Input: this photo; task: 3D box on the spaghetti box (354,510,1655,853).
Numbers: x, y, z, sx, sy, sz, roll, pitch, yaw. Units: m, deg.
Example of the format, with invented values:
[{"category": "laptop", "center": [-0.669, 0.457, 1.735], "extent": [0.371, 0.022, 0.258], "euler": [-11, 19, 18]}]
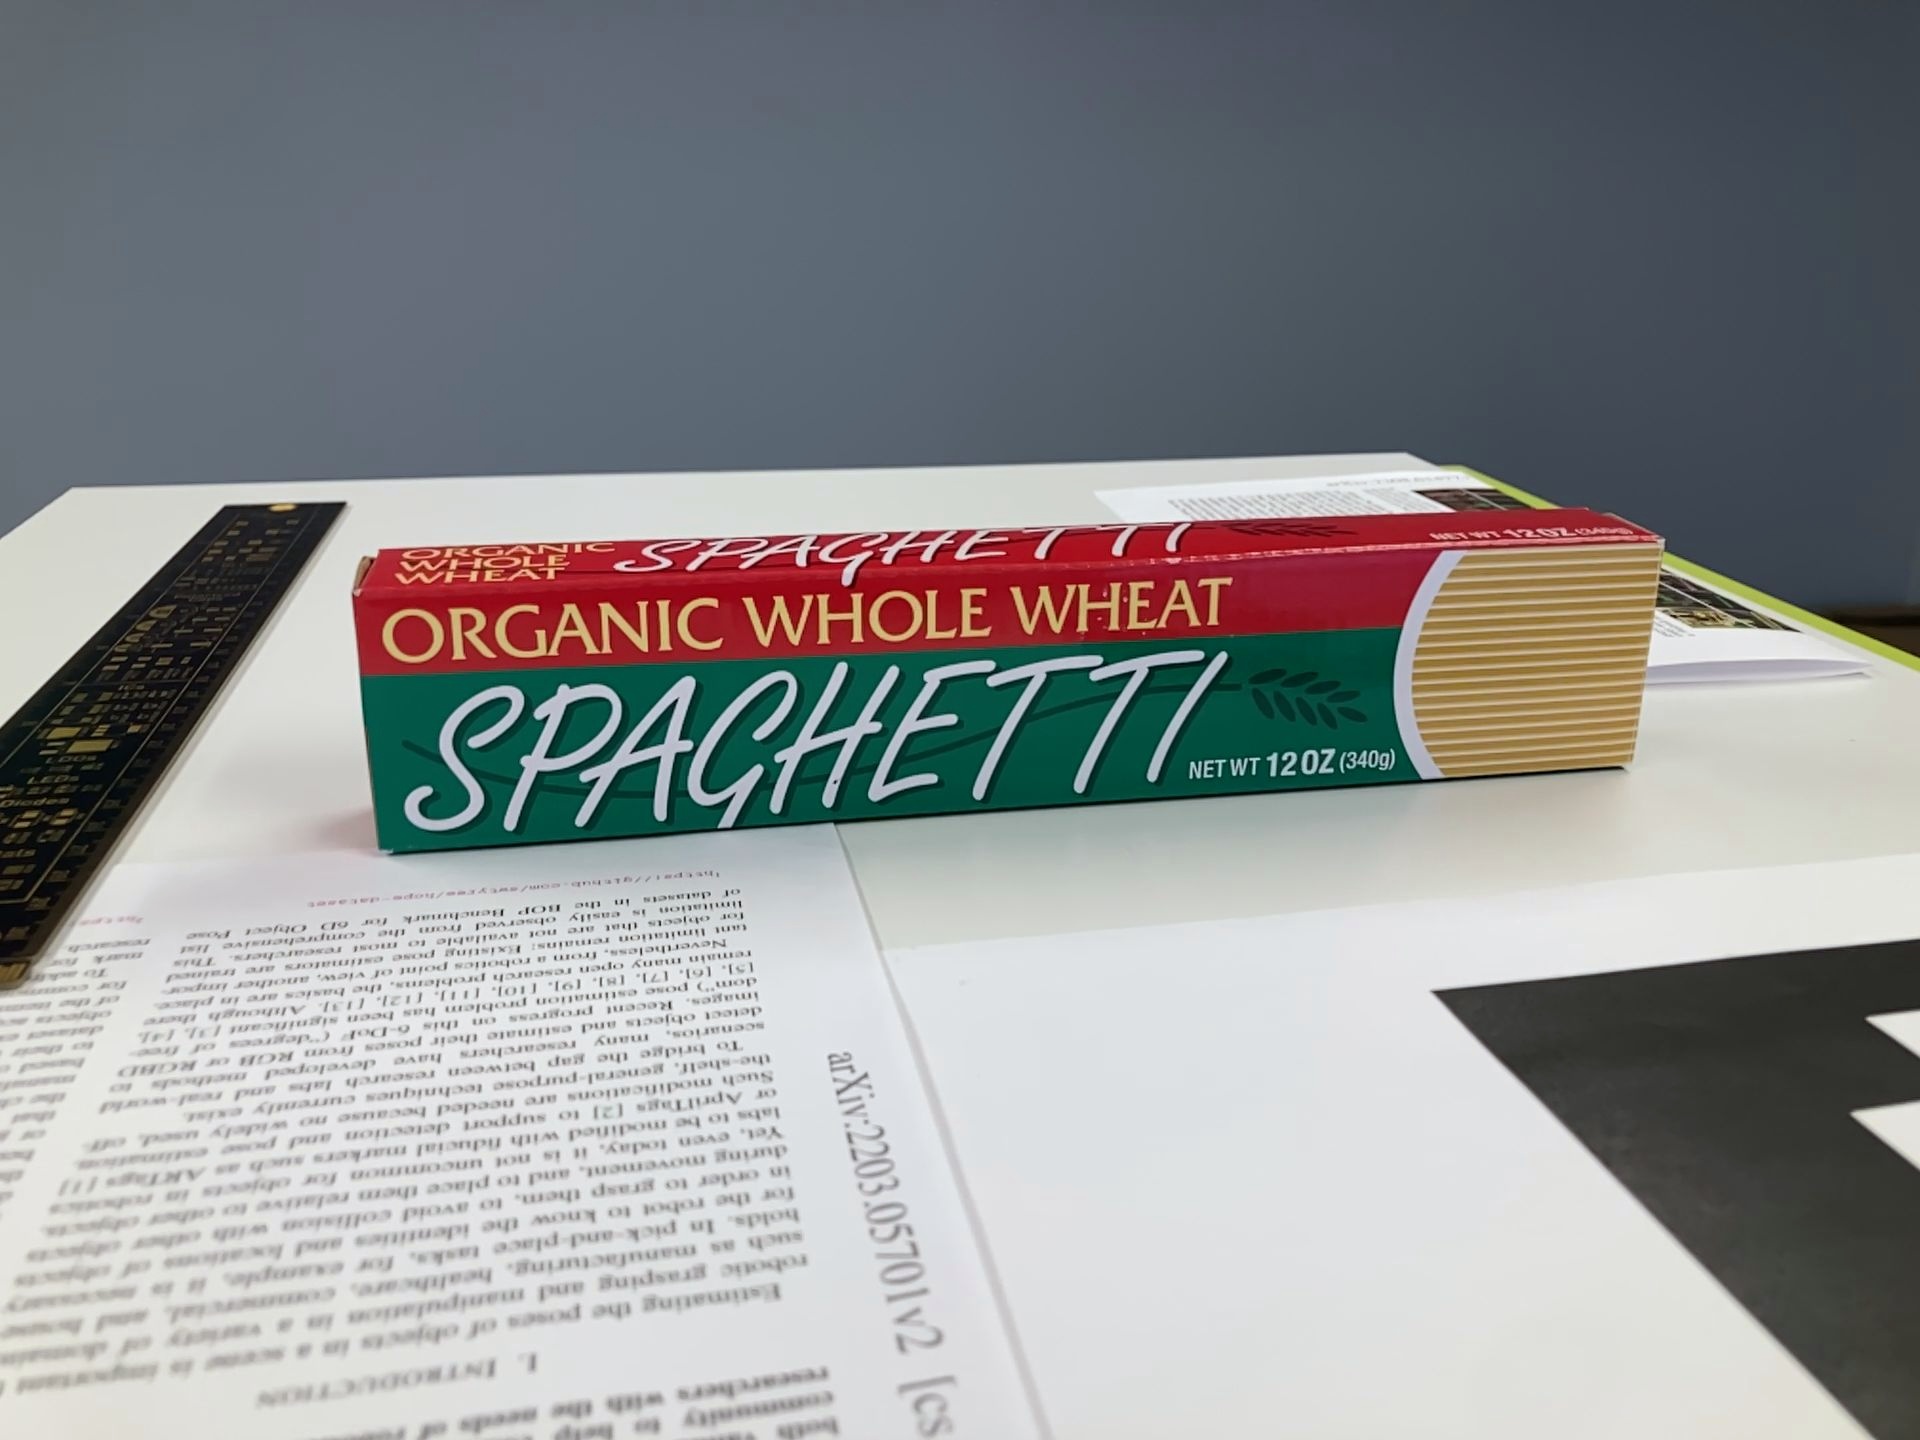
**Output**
[{"category": "spaghetti box", "center": [0.015, -0.010, 0.309], "extent": [0.250, 0.050, 0.028], "euler": [-4, 19, -12]}]
